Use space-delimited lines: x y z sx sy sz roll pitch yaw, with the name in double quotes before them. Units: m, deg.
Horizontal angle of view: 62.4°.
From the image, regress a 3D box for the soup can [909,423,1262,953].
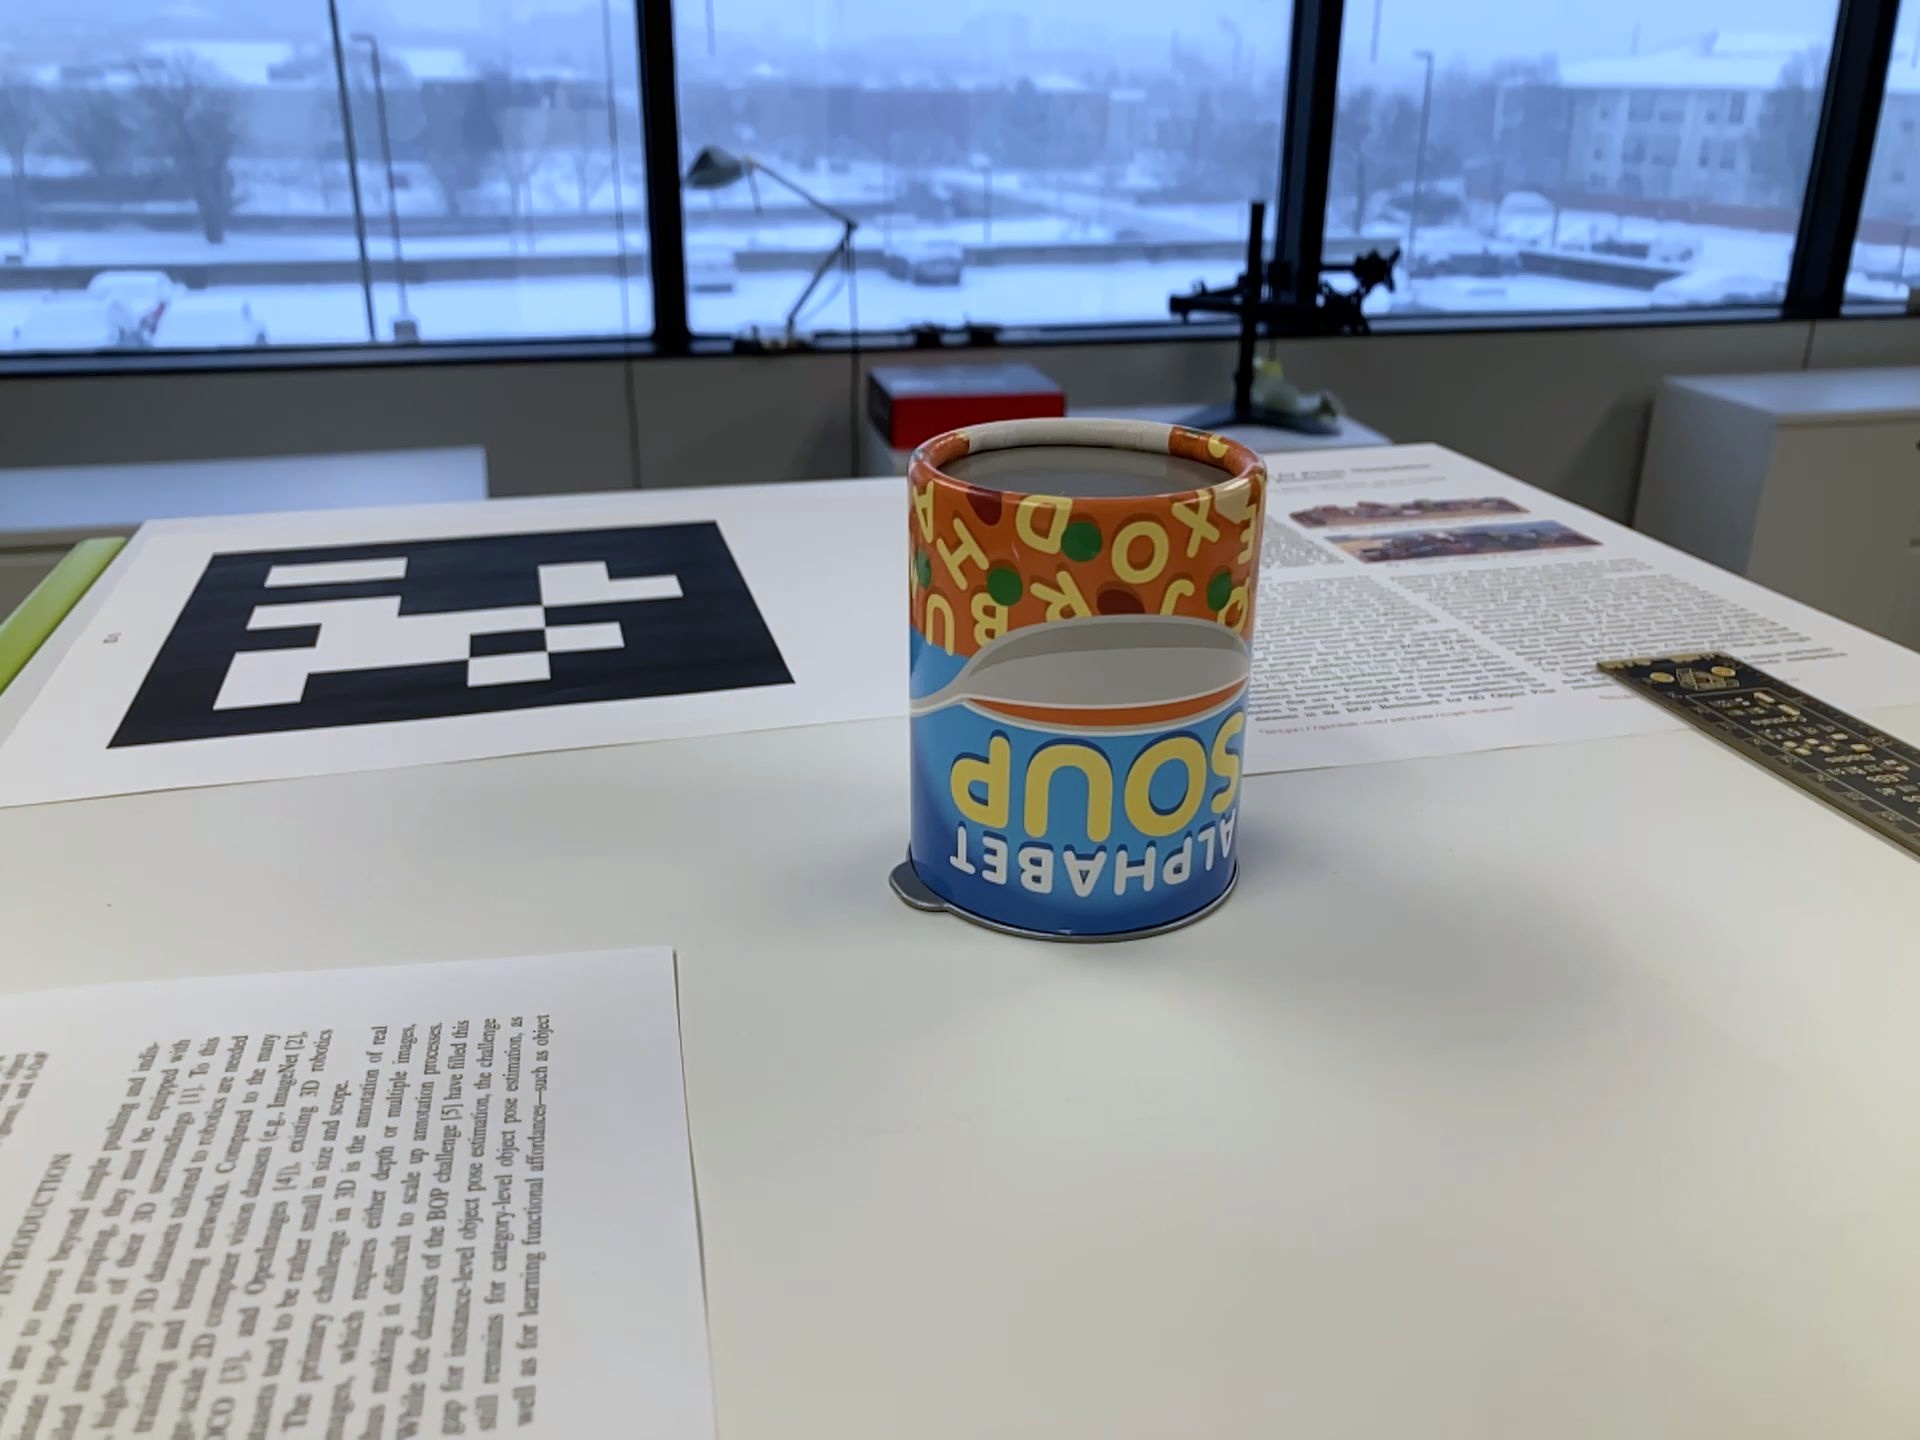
"soup can" 0.023 -0.009 0.306 0.071 0.084 0.071 0 22 0
